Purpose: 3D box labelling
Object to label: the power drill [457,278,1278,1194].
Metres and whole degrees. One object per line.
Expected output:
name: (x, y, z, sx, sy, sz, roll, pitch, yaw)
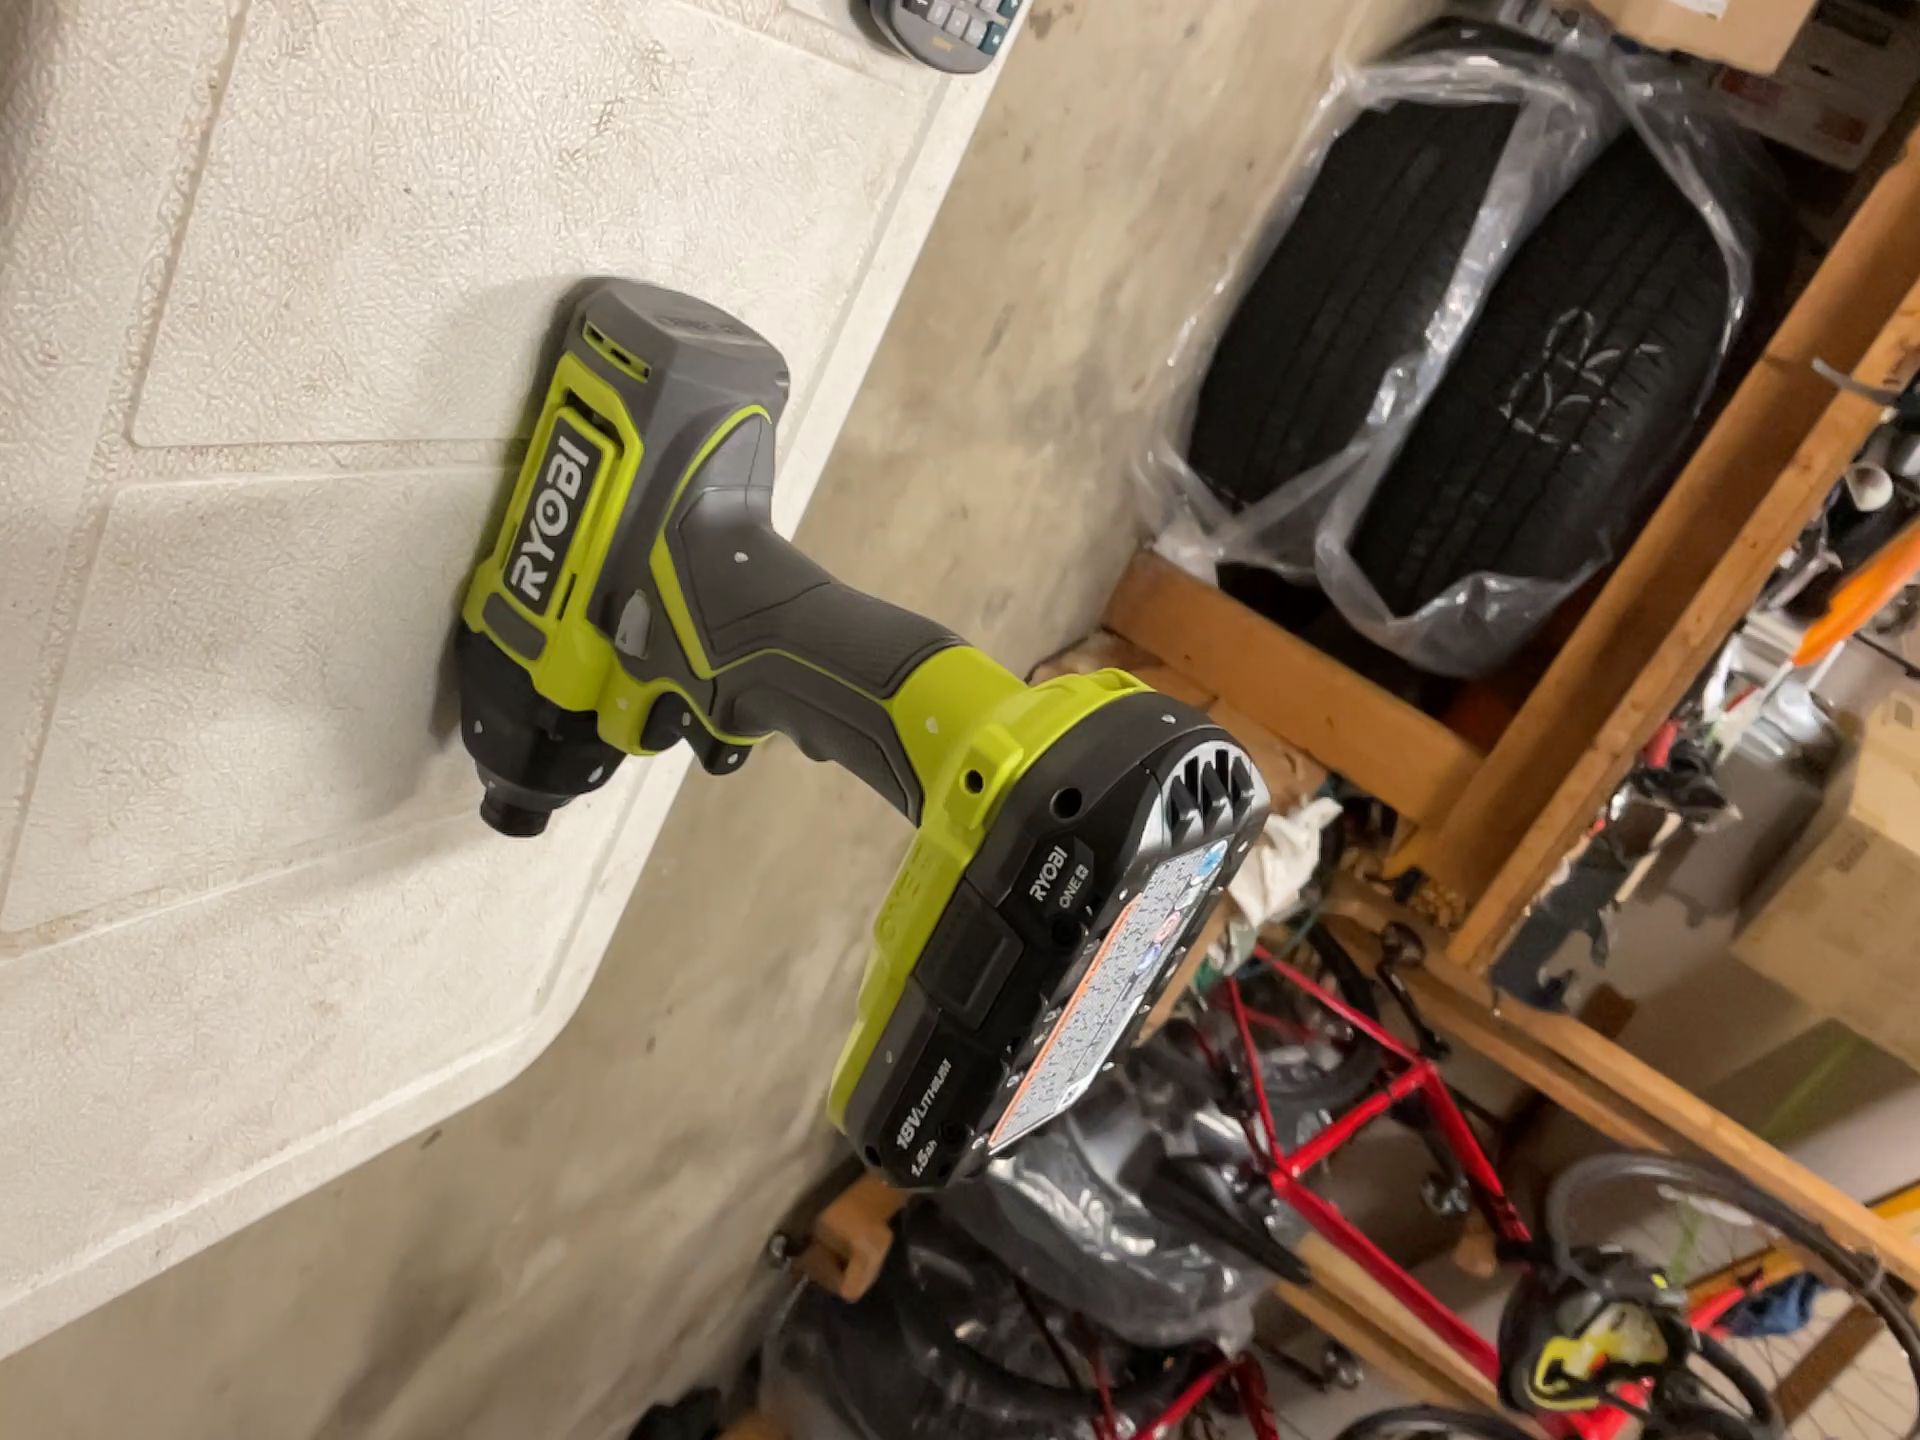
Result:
power drill: (-0.045, 0.009, 0.426, 0.080, 0.223, 0.171, -10, 133, -54)
